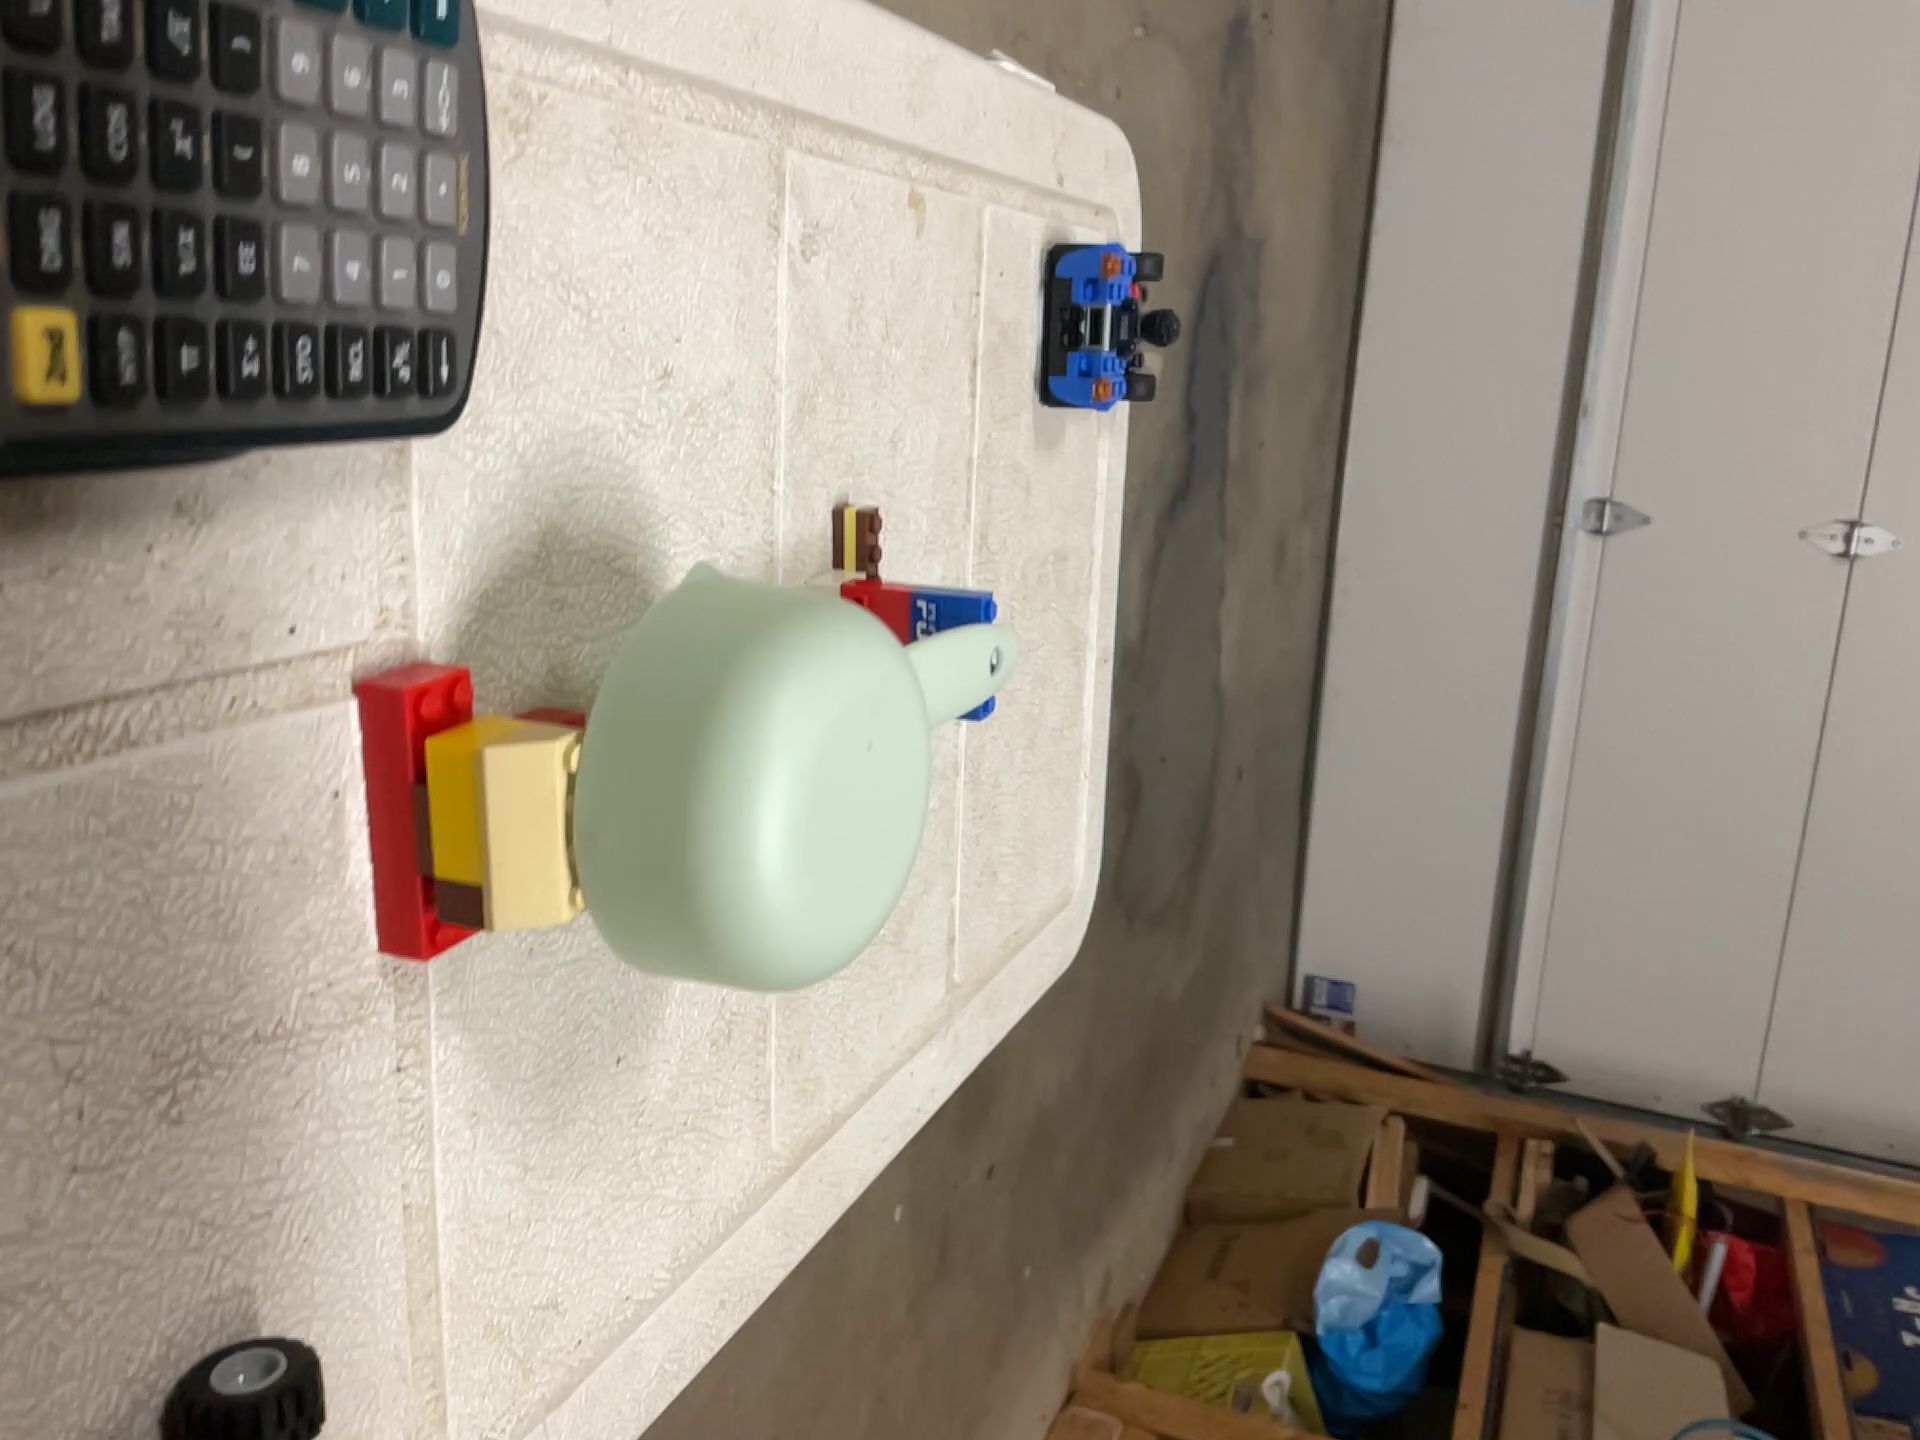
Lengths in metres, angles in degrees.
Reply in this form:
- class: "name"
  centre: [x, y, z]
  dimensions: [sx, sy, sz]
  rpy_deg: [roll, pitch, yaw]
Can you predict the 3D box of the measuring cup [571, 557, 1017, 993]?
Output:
- class: "measuring cup"
  centre: [-0.012, 0.003, 0.335]
  dimensions: [0.168, 0.038, 0.083]
  rpy_deg: [-25, 120, -59]
